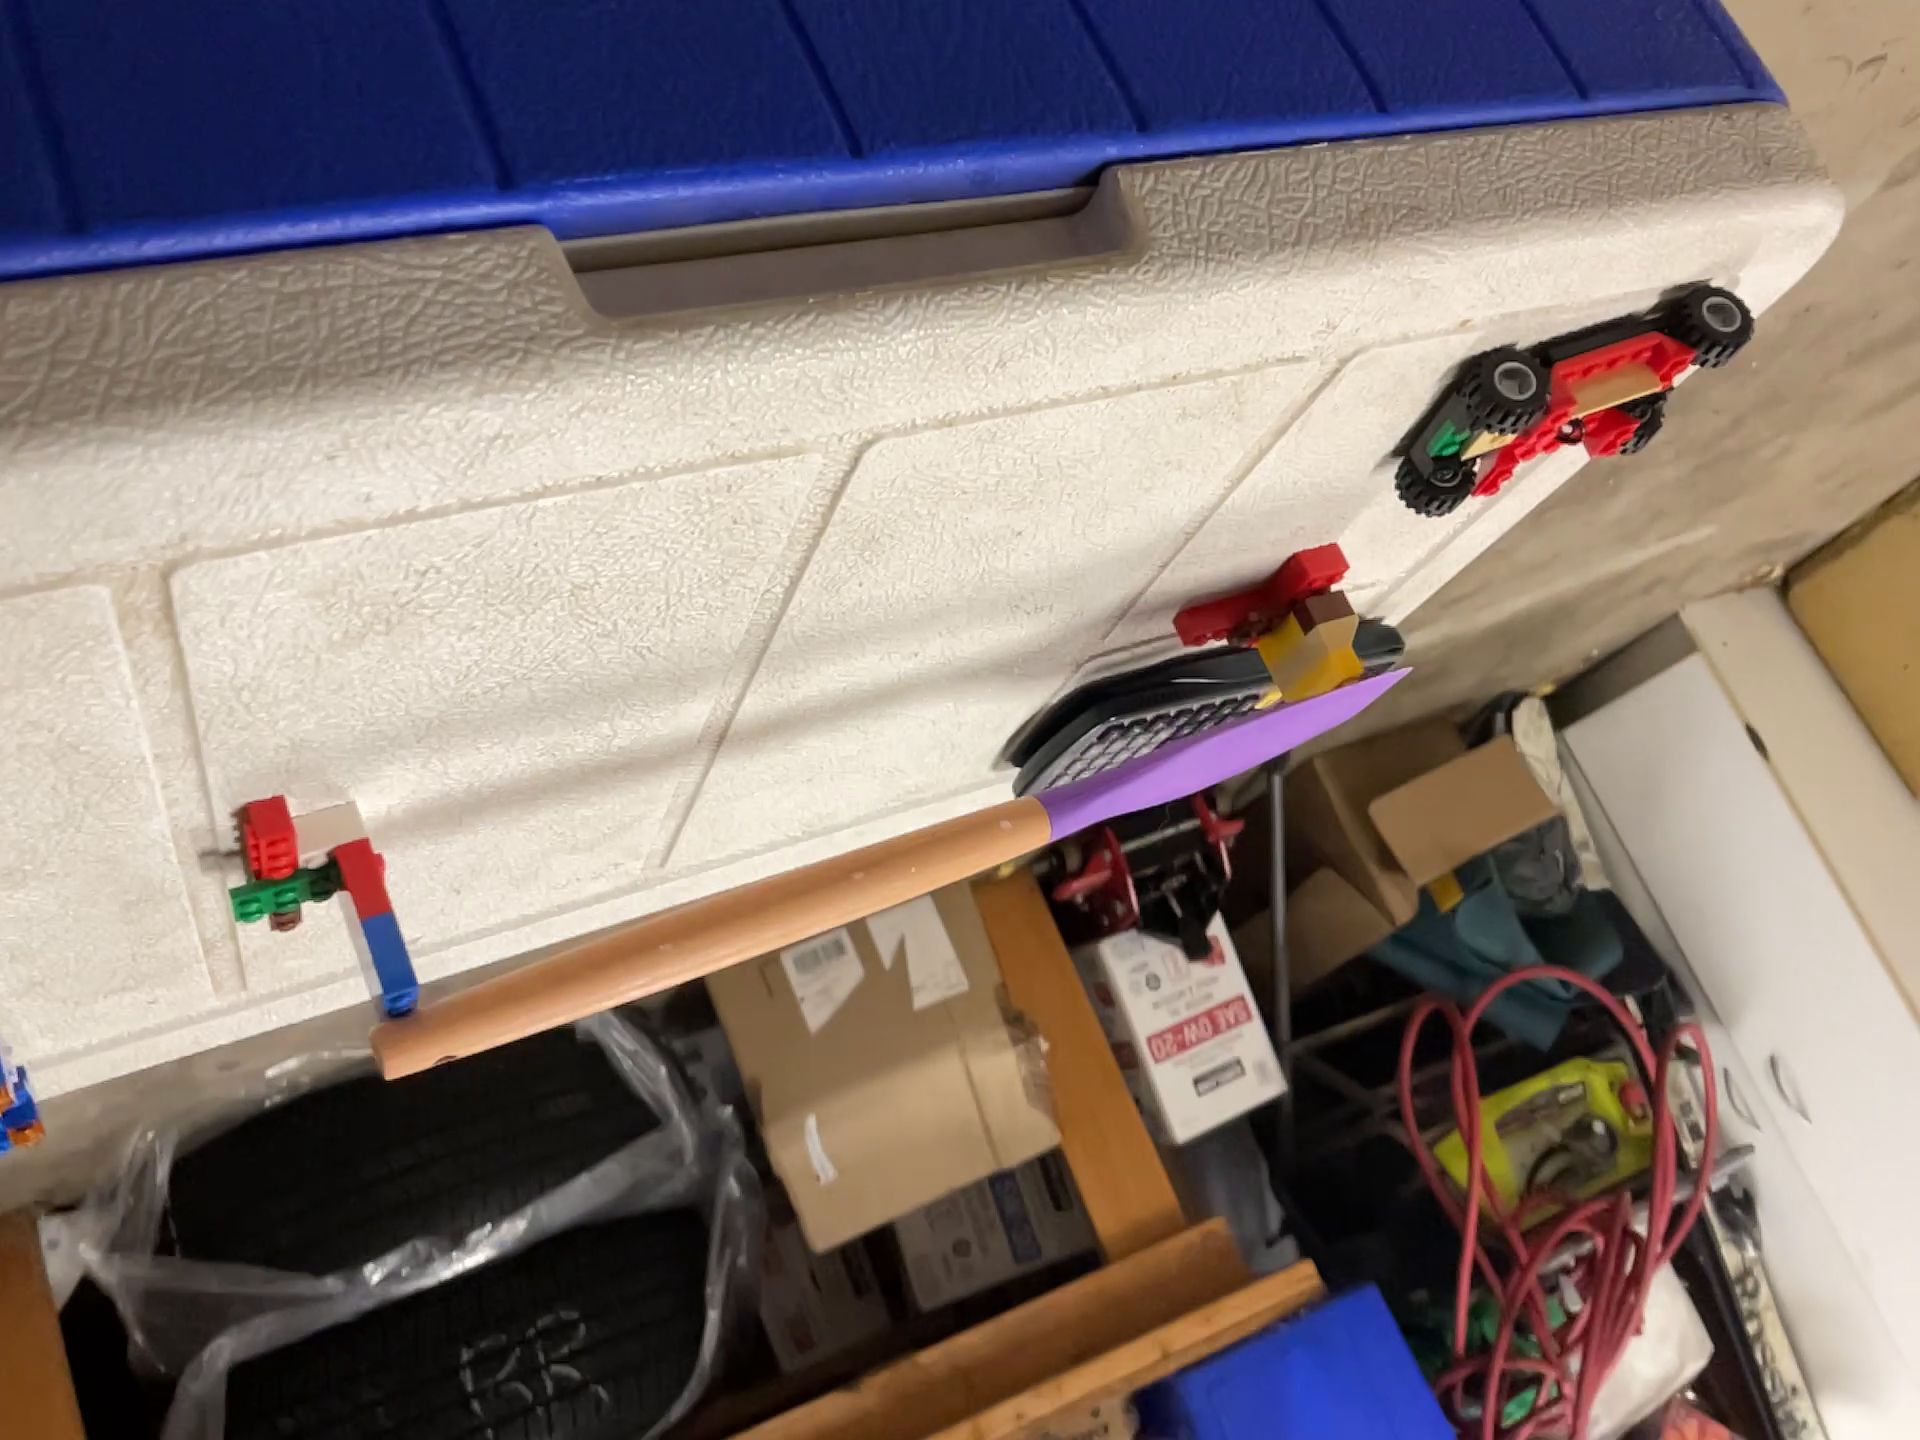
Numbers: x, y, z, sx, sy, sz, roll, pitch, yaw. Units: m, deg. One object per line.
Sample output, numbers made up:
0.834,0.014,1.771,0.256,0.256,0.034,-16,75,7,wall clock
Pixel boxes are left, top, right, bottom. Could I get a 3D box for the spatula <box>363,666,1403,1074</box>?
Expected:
-0.003,0.036,0.444,0.316,0.018,0.059,-17,161,-27,spatula
